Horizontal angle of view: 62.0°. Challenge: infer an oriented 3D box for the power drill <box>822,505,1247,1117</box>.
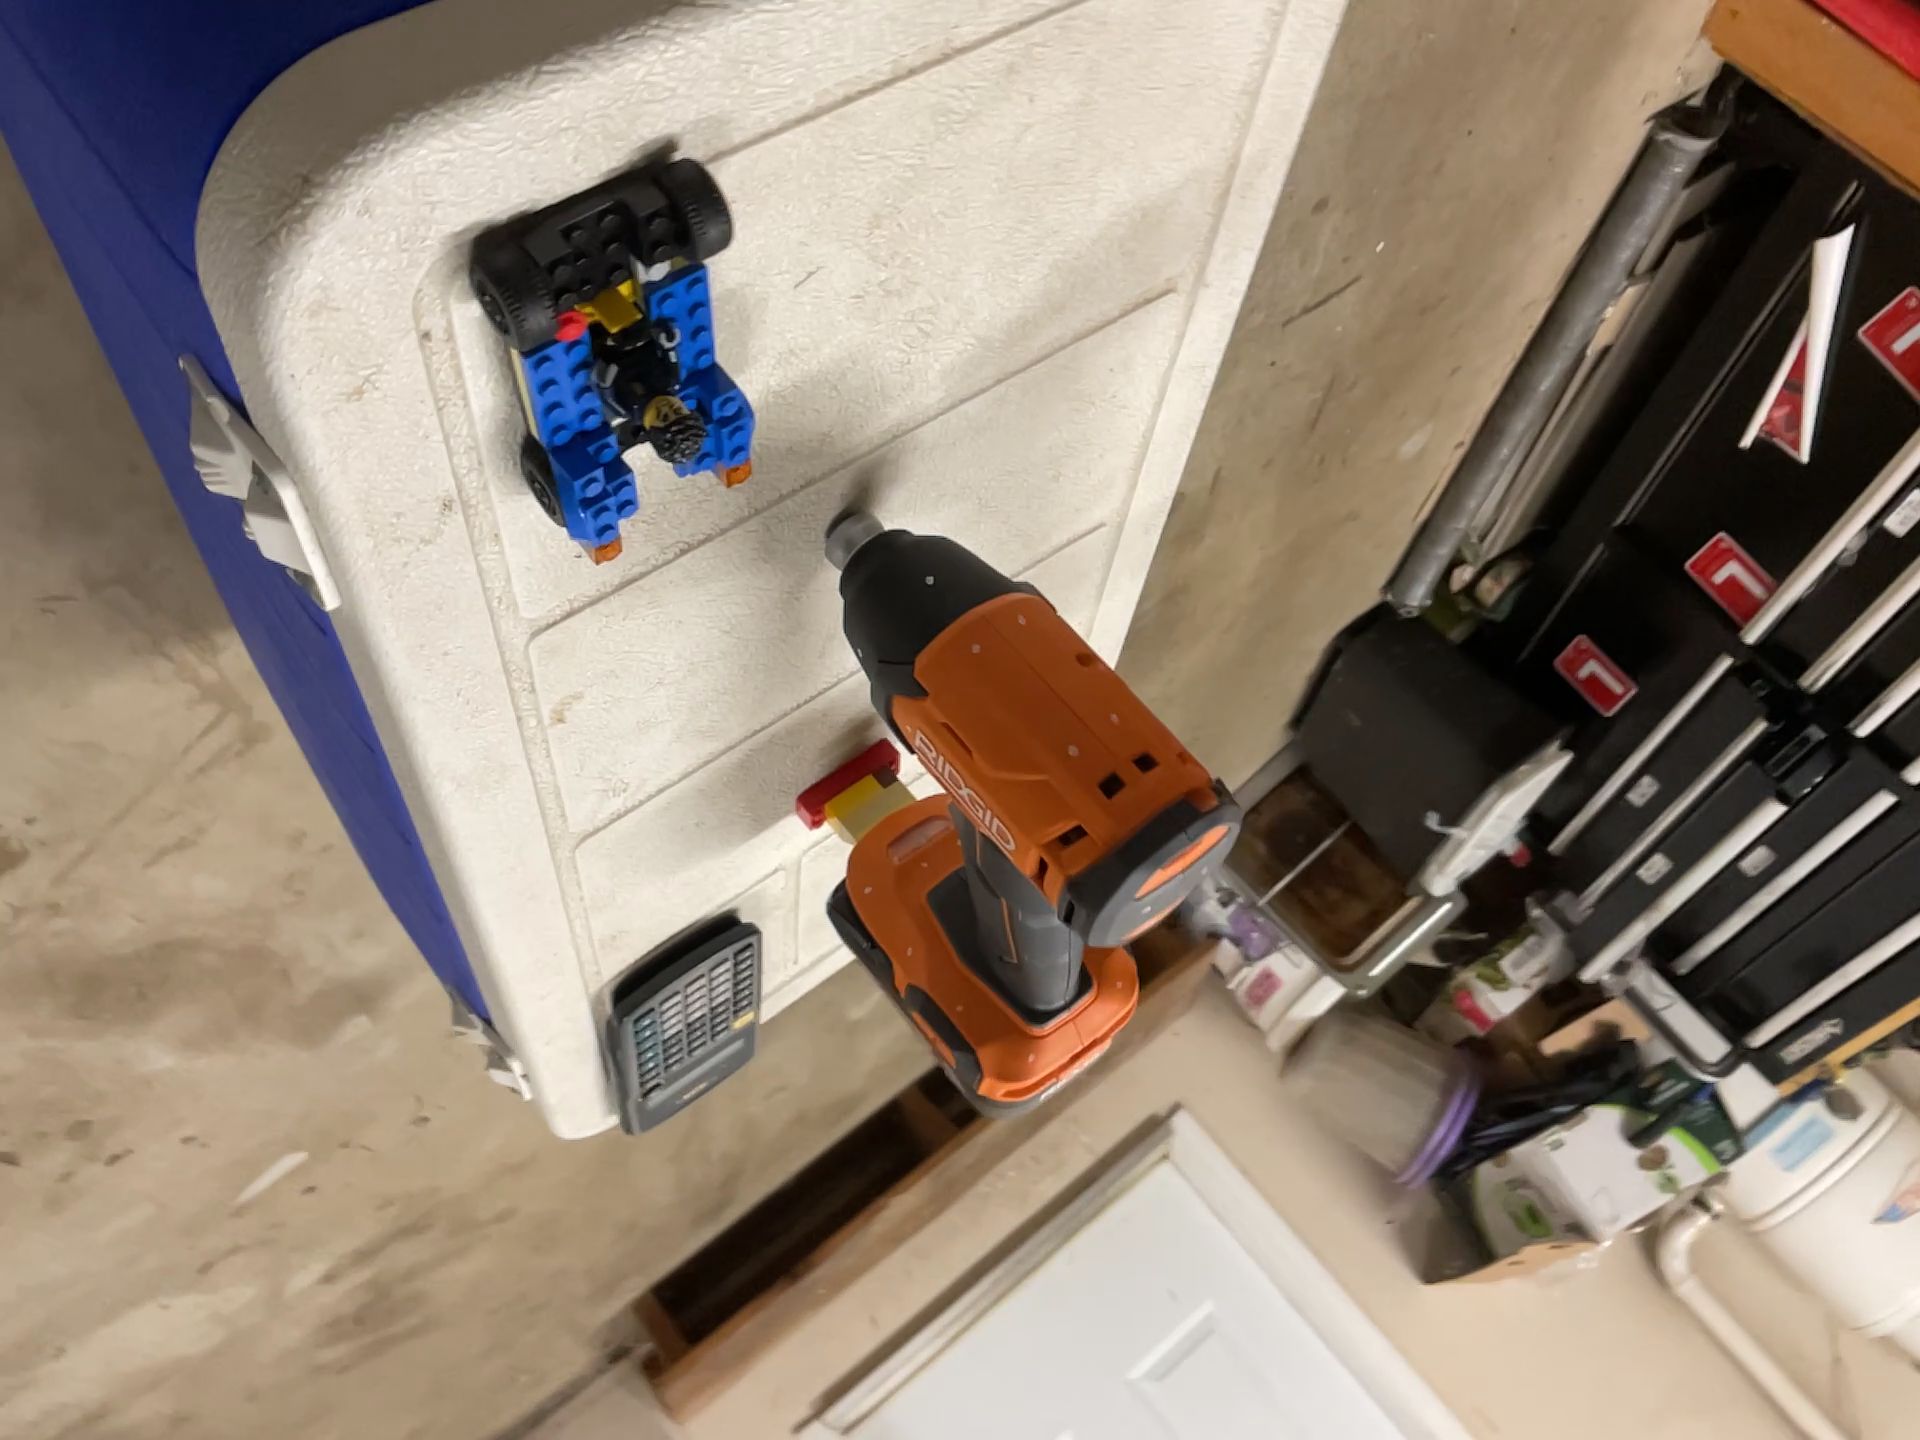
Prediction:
[{"bbox_3d":[0.006,0.034,0.556,0.084,0.164,0.226,-32,157,-22],"label":"power drill"}]
